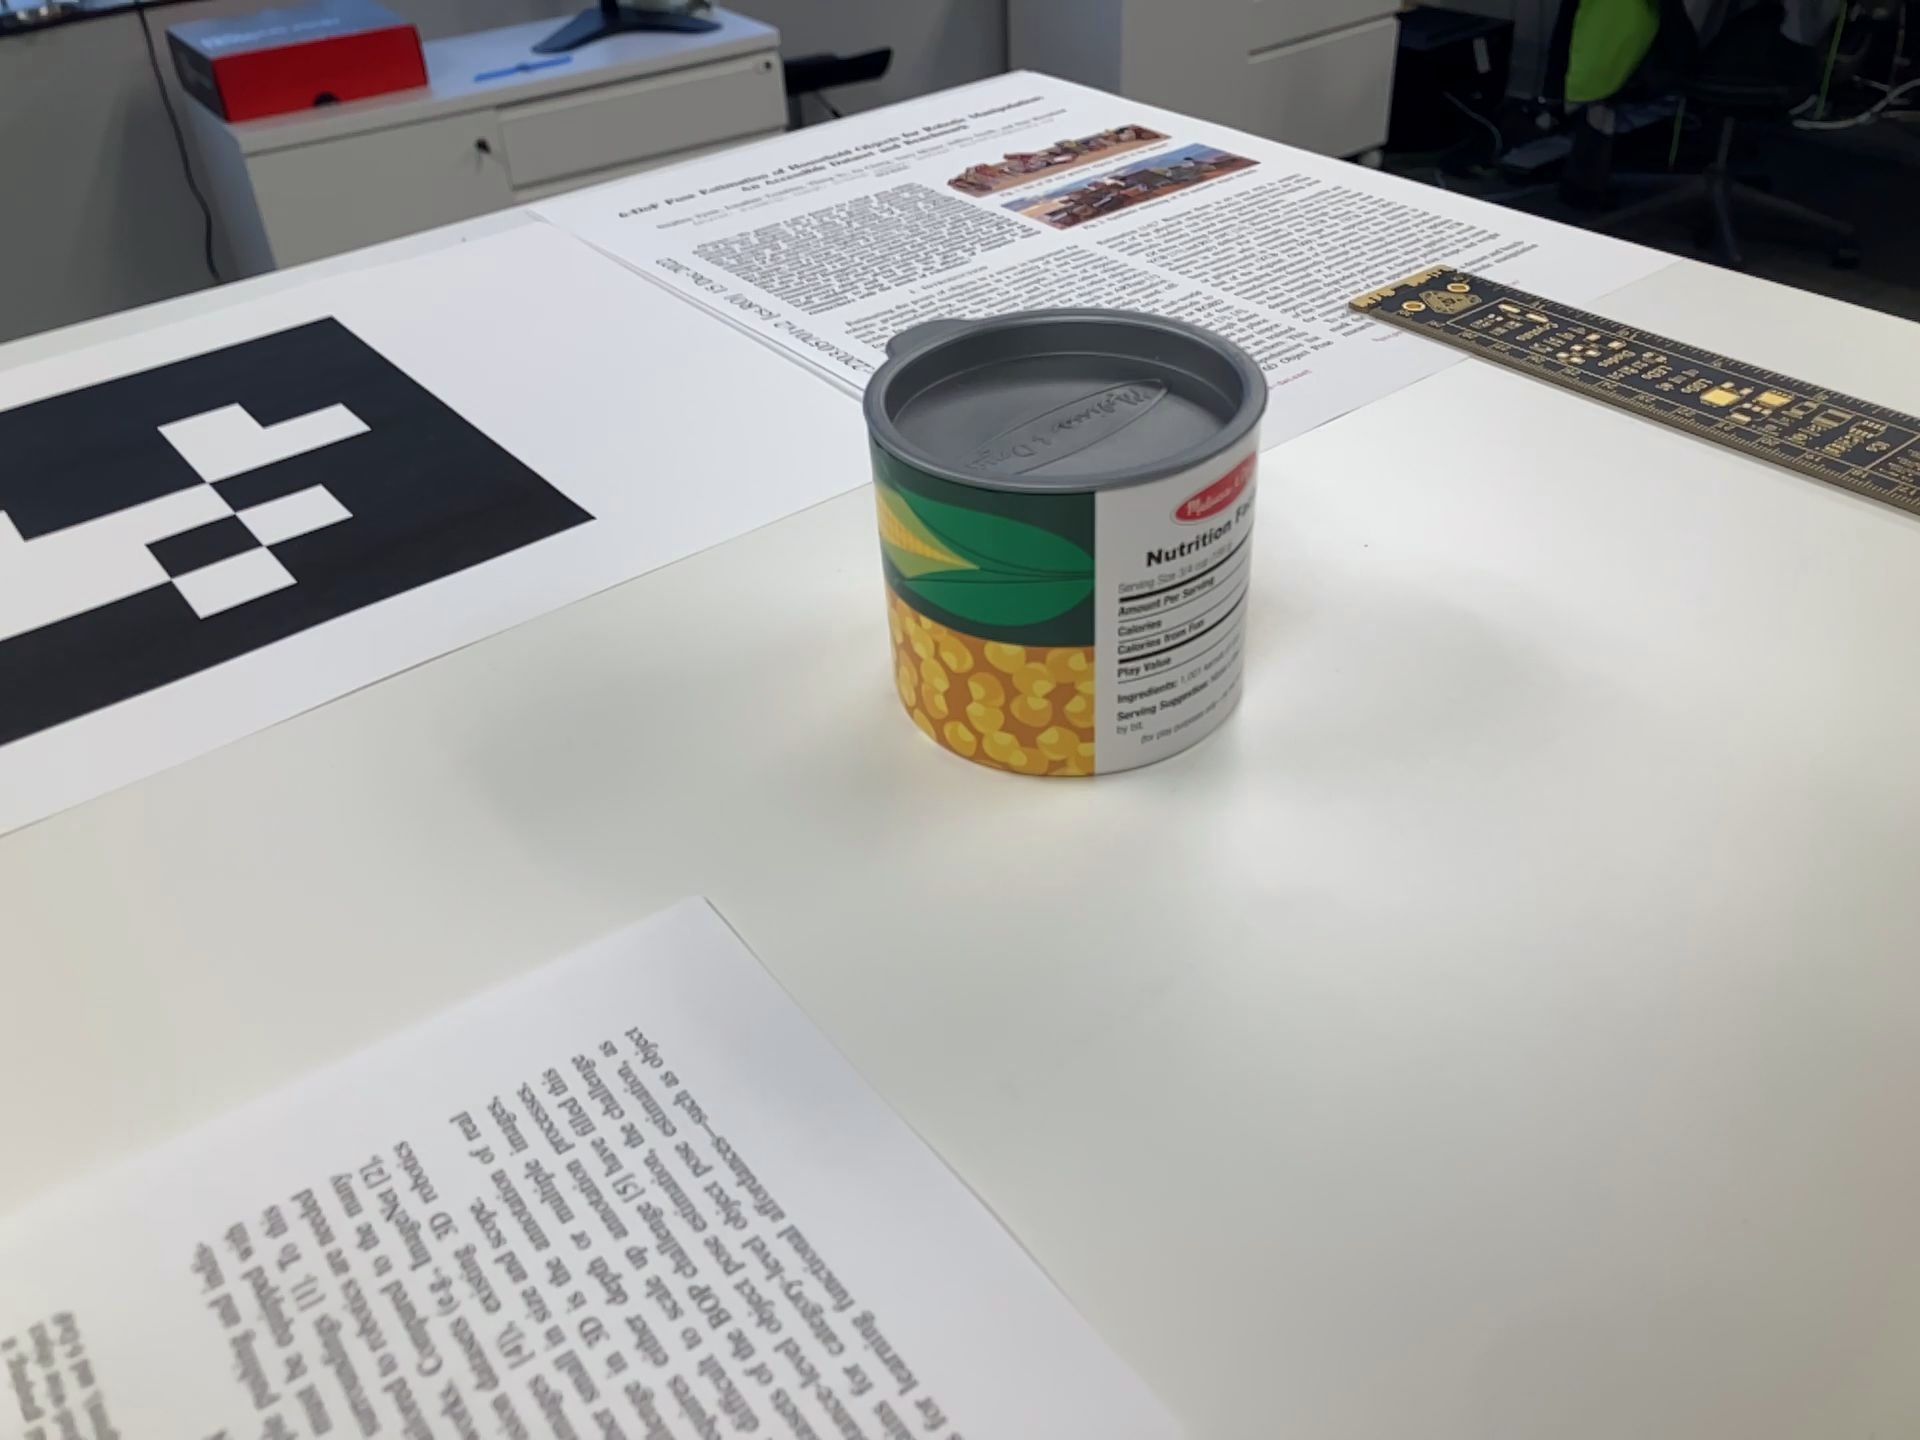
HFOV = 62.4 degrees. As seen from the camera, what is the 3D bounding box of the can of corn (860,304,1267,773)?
[{"bbox_3d":[0.017,-0.034,0.278,0.071,0.058,0.071,-3,36,2],"label":"can of corn"}]
